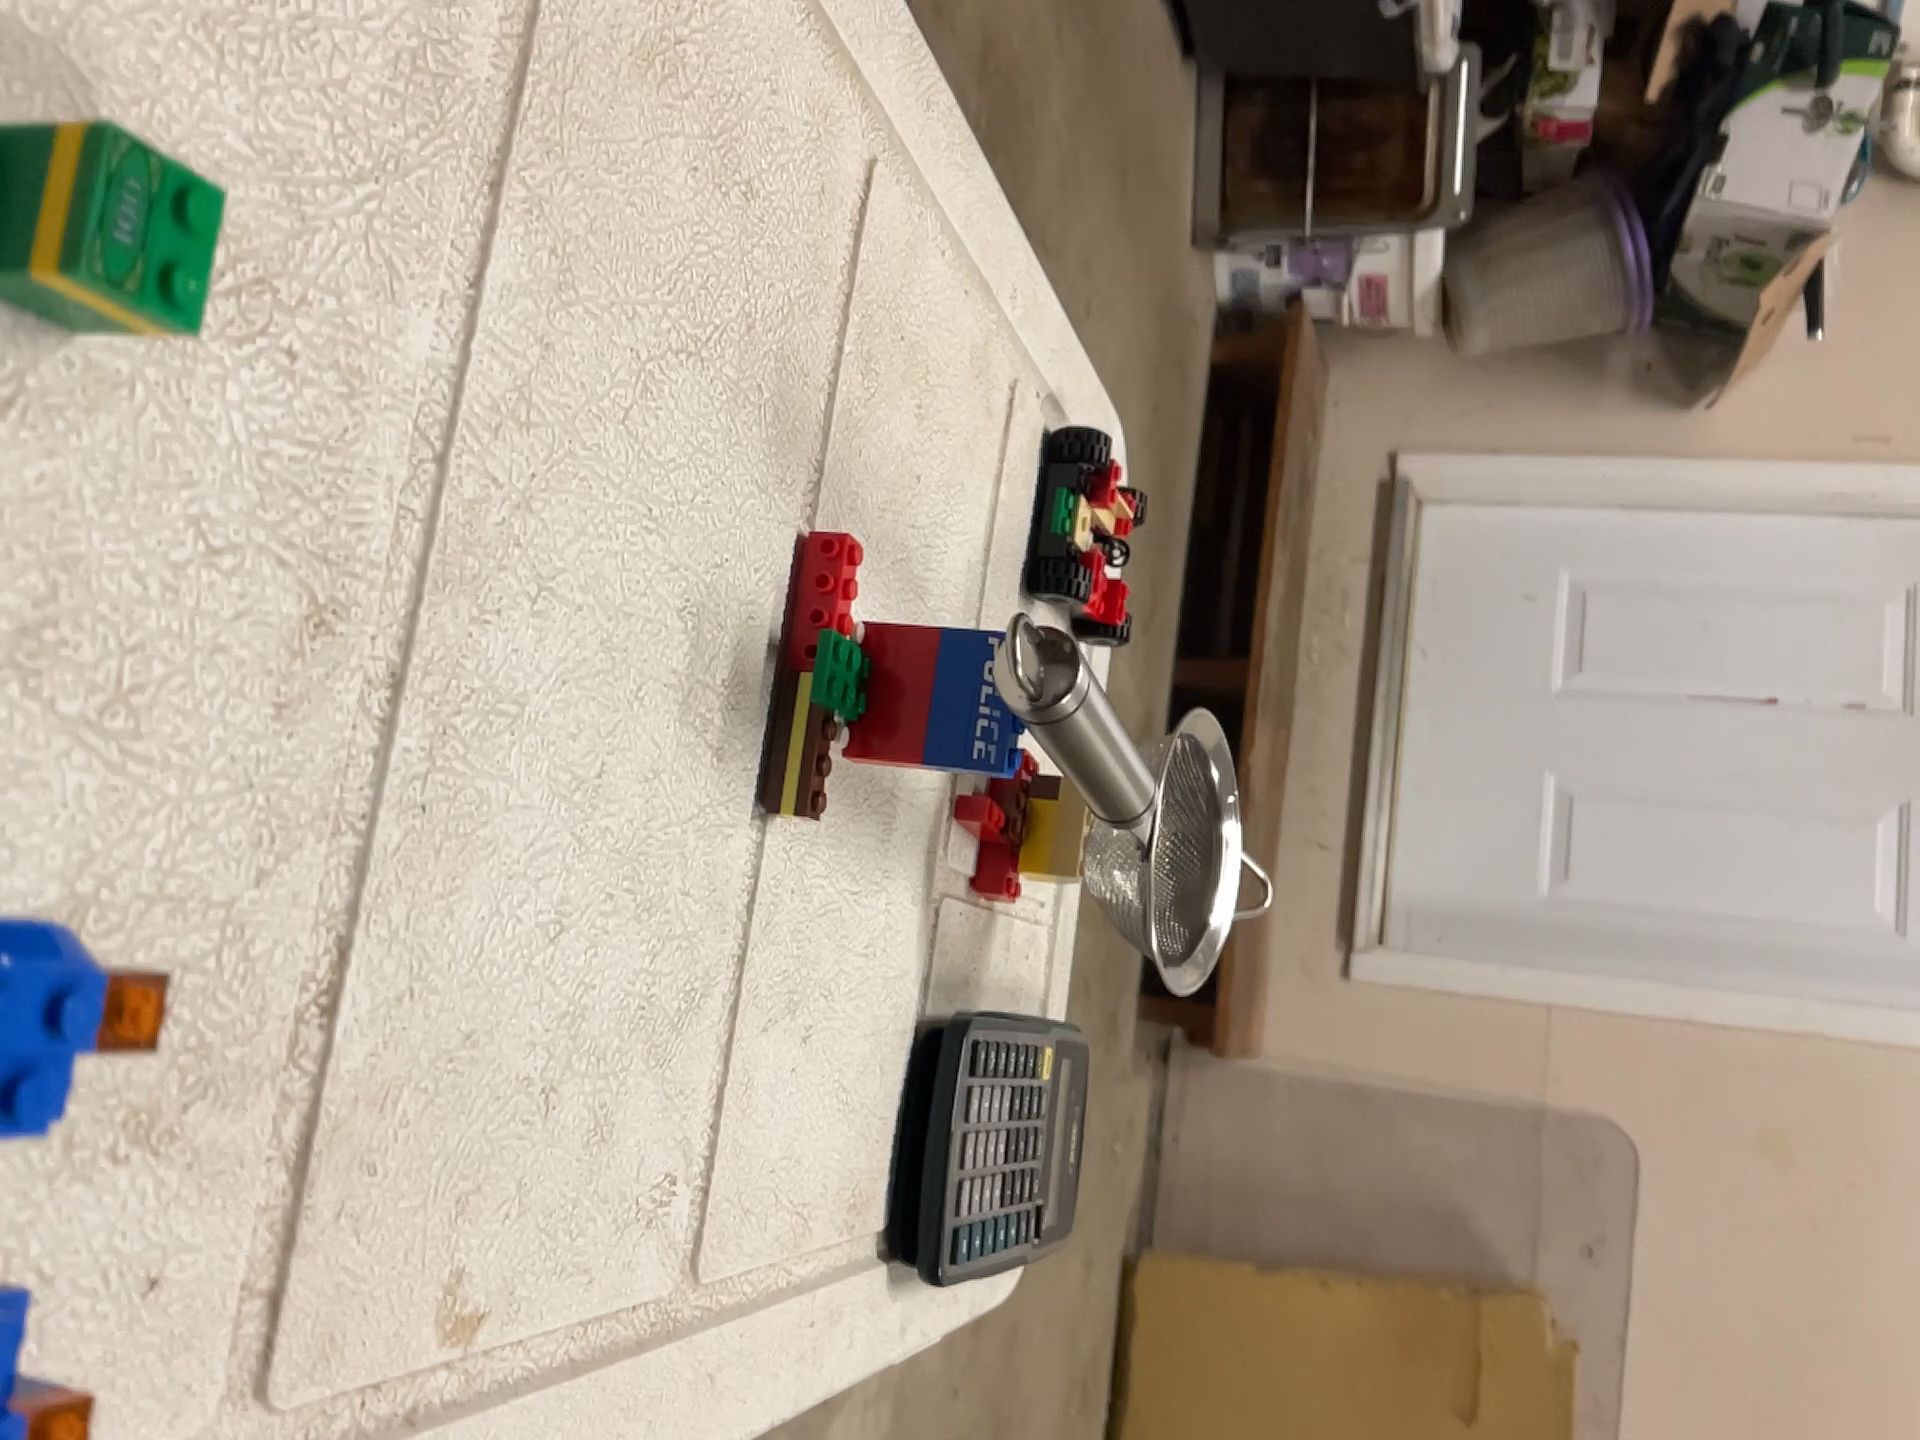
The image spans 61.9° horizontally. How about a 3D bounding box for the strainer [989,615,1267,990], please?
[{"bbox_3d":[0.043,0.019,0.427,0.258,0.050,0.087,45,50,-67],"label":"strainer"}]
